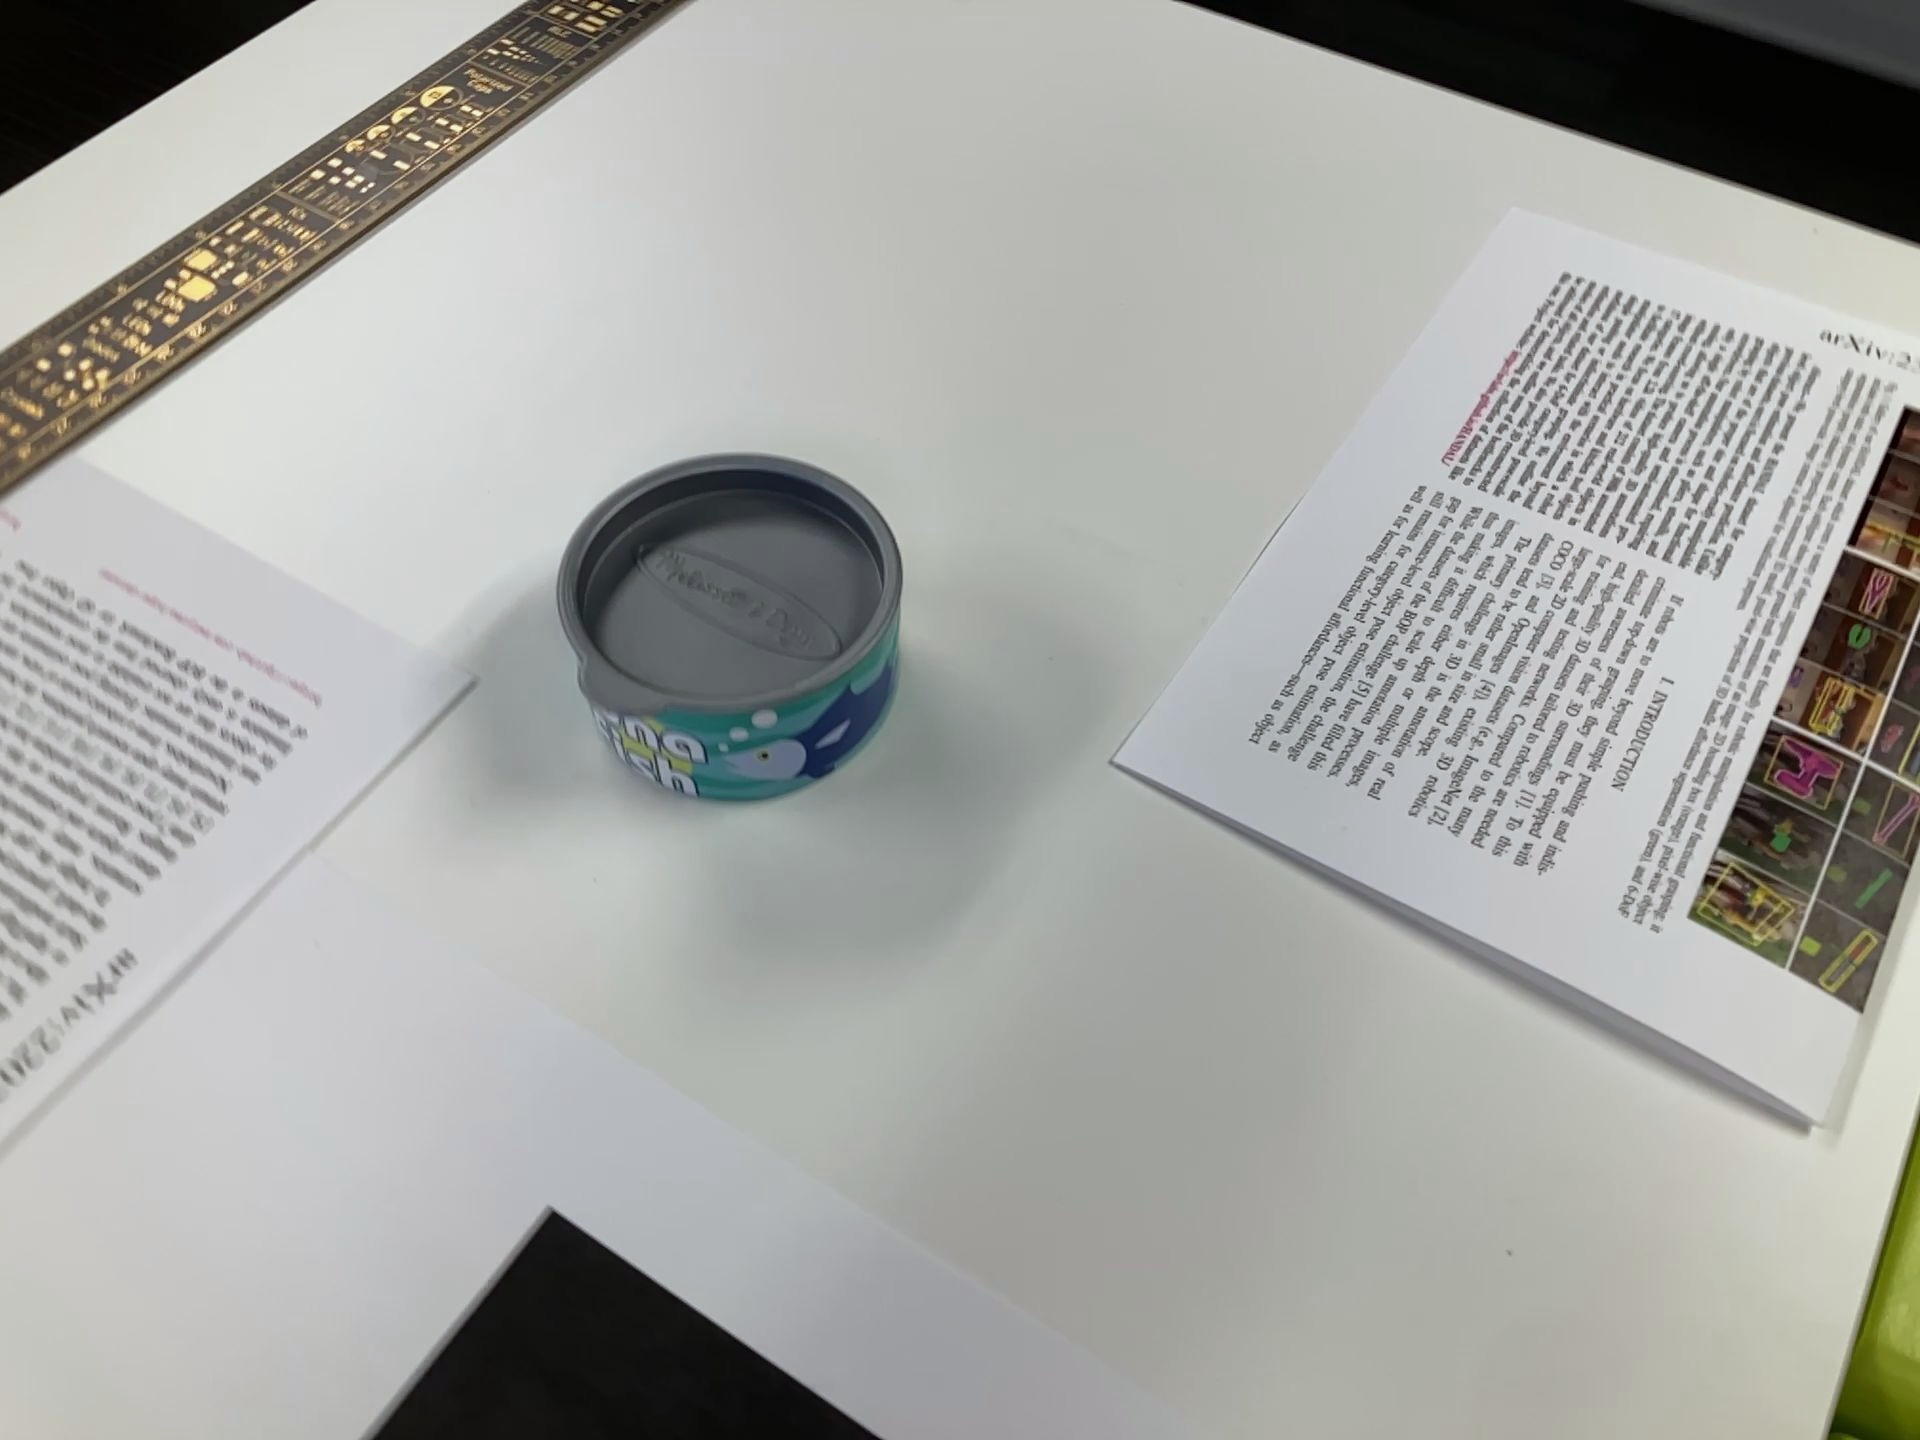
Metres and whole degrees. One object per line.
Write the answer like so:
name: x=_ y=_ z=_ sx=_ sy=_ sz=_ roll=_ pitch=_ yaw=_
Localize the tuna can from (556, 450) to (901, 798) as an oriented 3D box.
tuna can: x=-0.046 y=-0.018 z=0.317 sx=0.071 sy=0.033 sz=0.071 roll=1 pitch=54 yaw=-1
